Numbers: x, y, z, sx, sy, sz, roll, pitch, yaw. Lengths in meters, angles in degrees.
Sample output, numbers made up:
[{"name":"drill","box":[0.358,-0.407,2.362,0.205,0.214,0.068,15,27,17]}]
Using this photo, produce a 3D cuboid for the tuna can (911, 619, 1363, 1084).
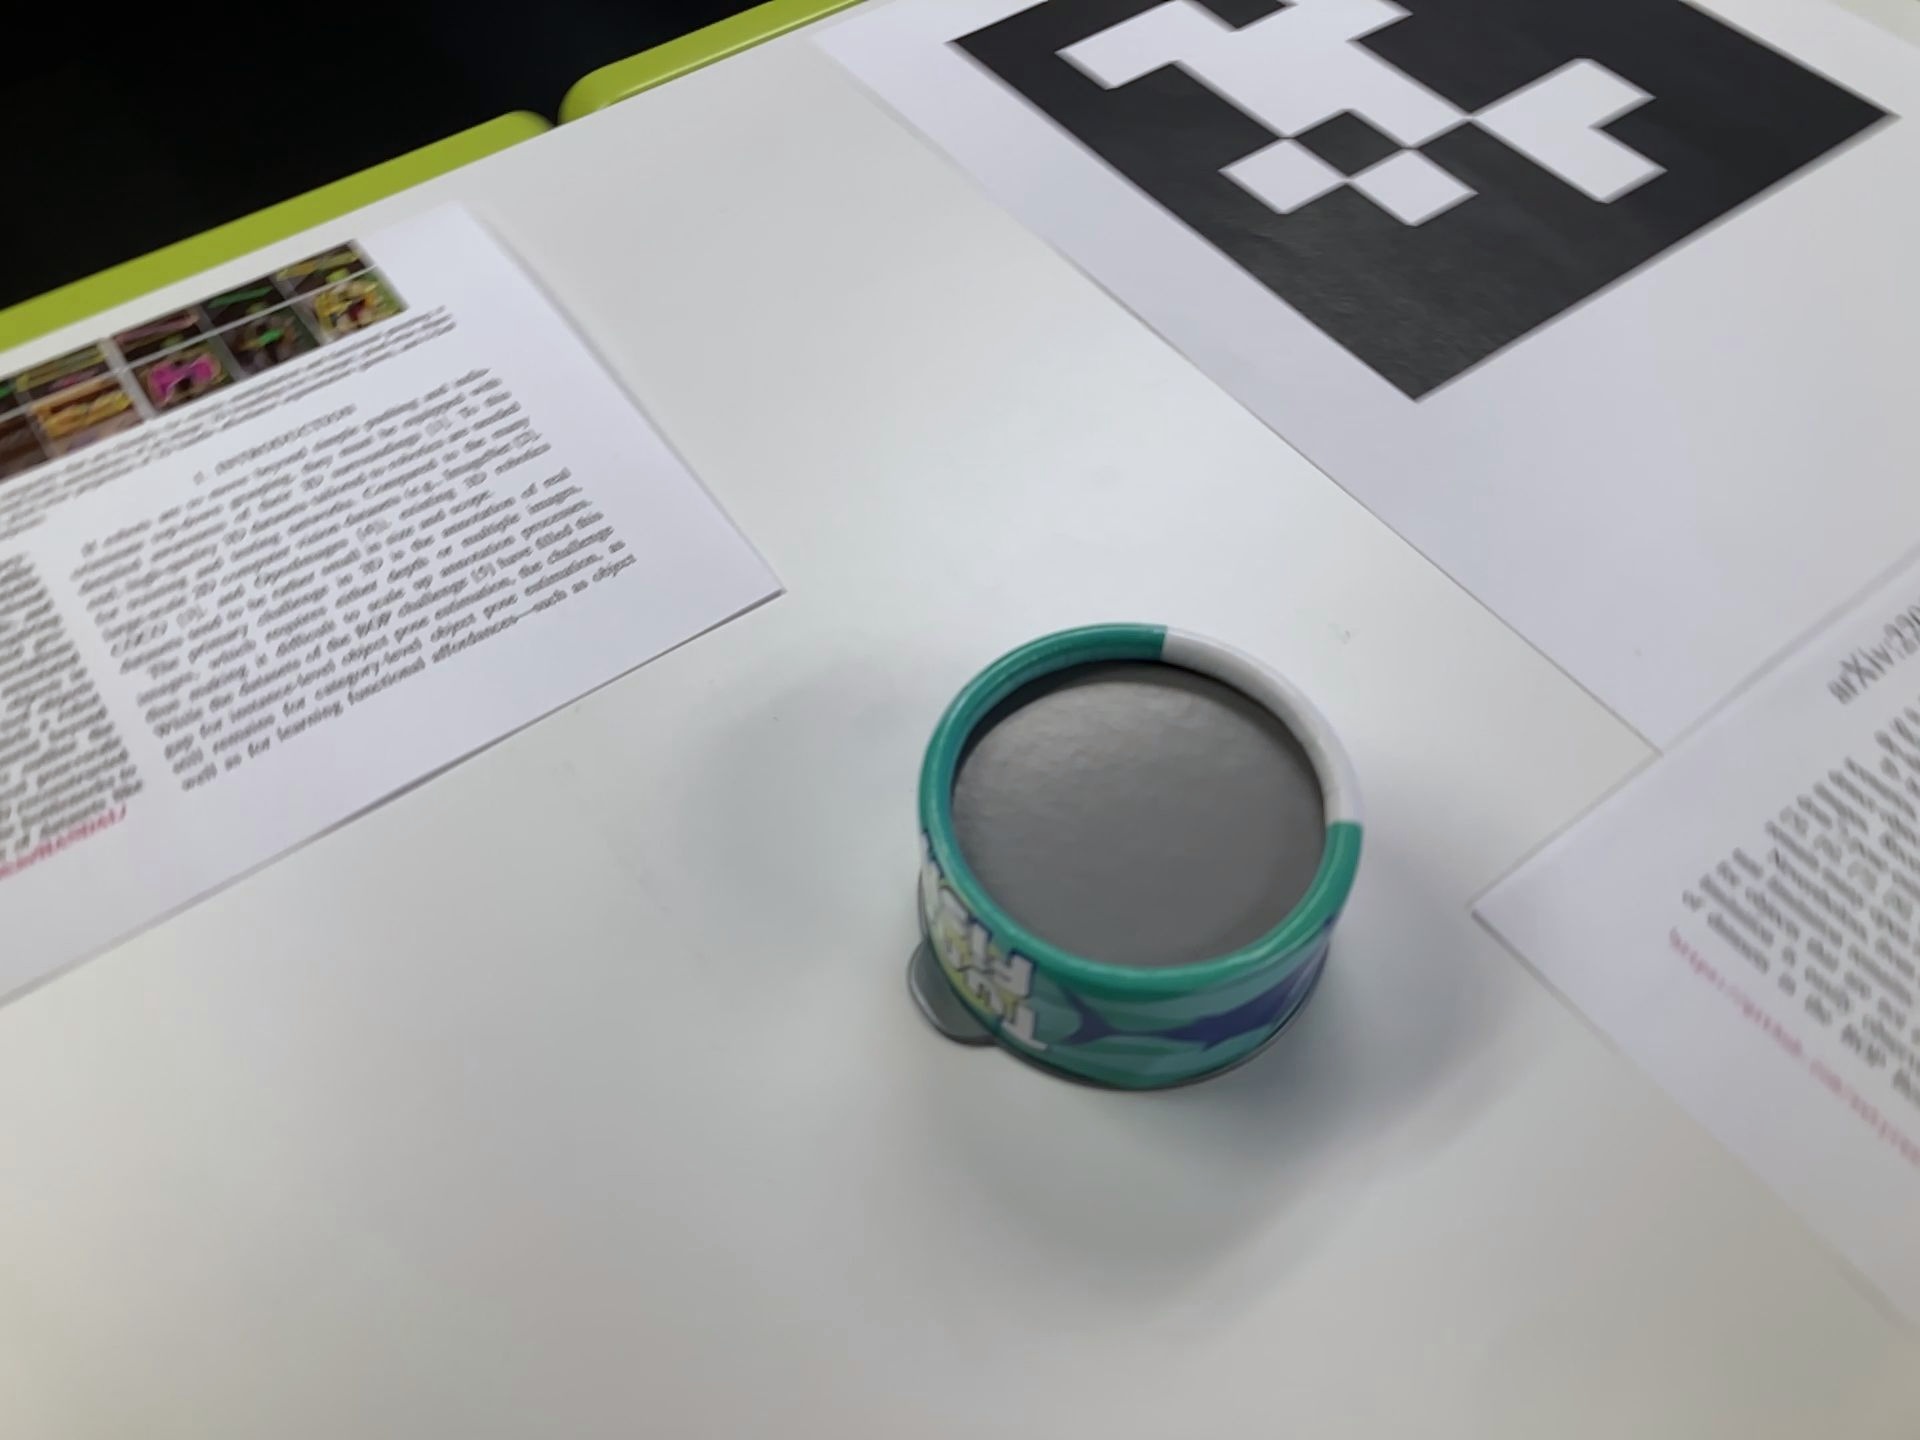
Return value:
[{"name":"tuna can","box":[0.024,0.020,0.243,0.071,0.033,0.071,-1,54,2]}]
